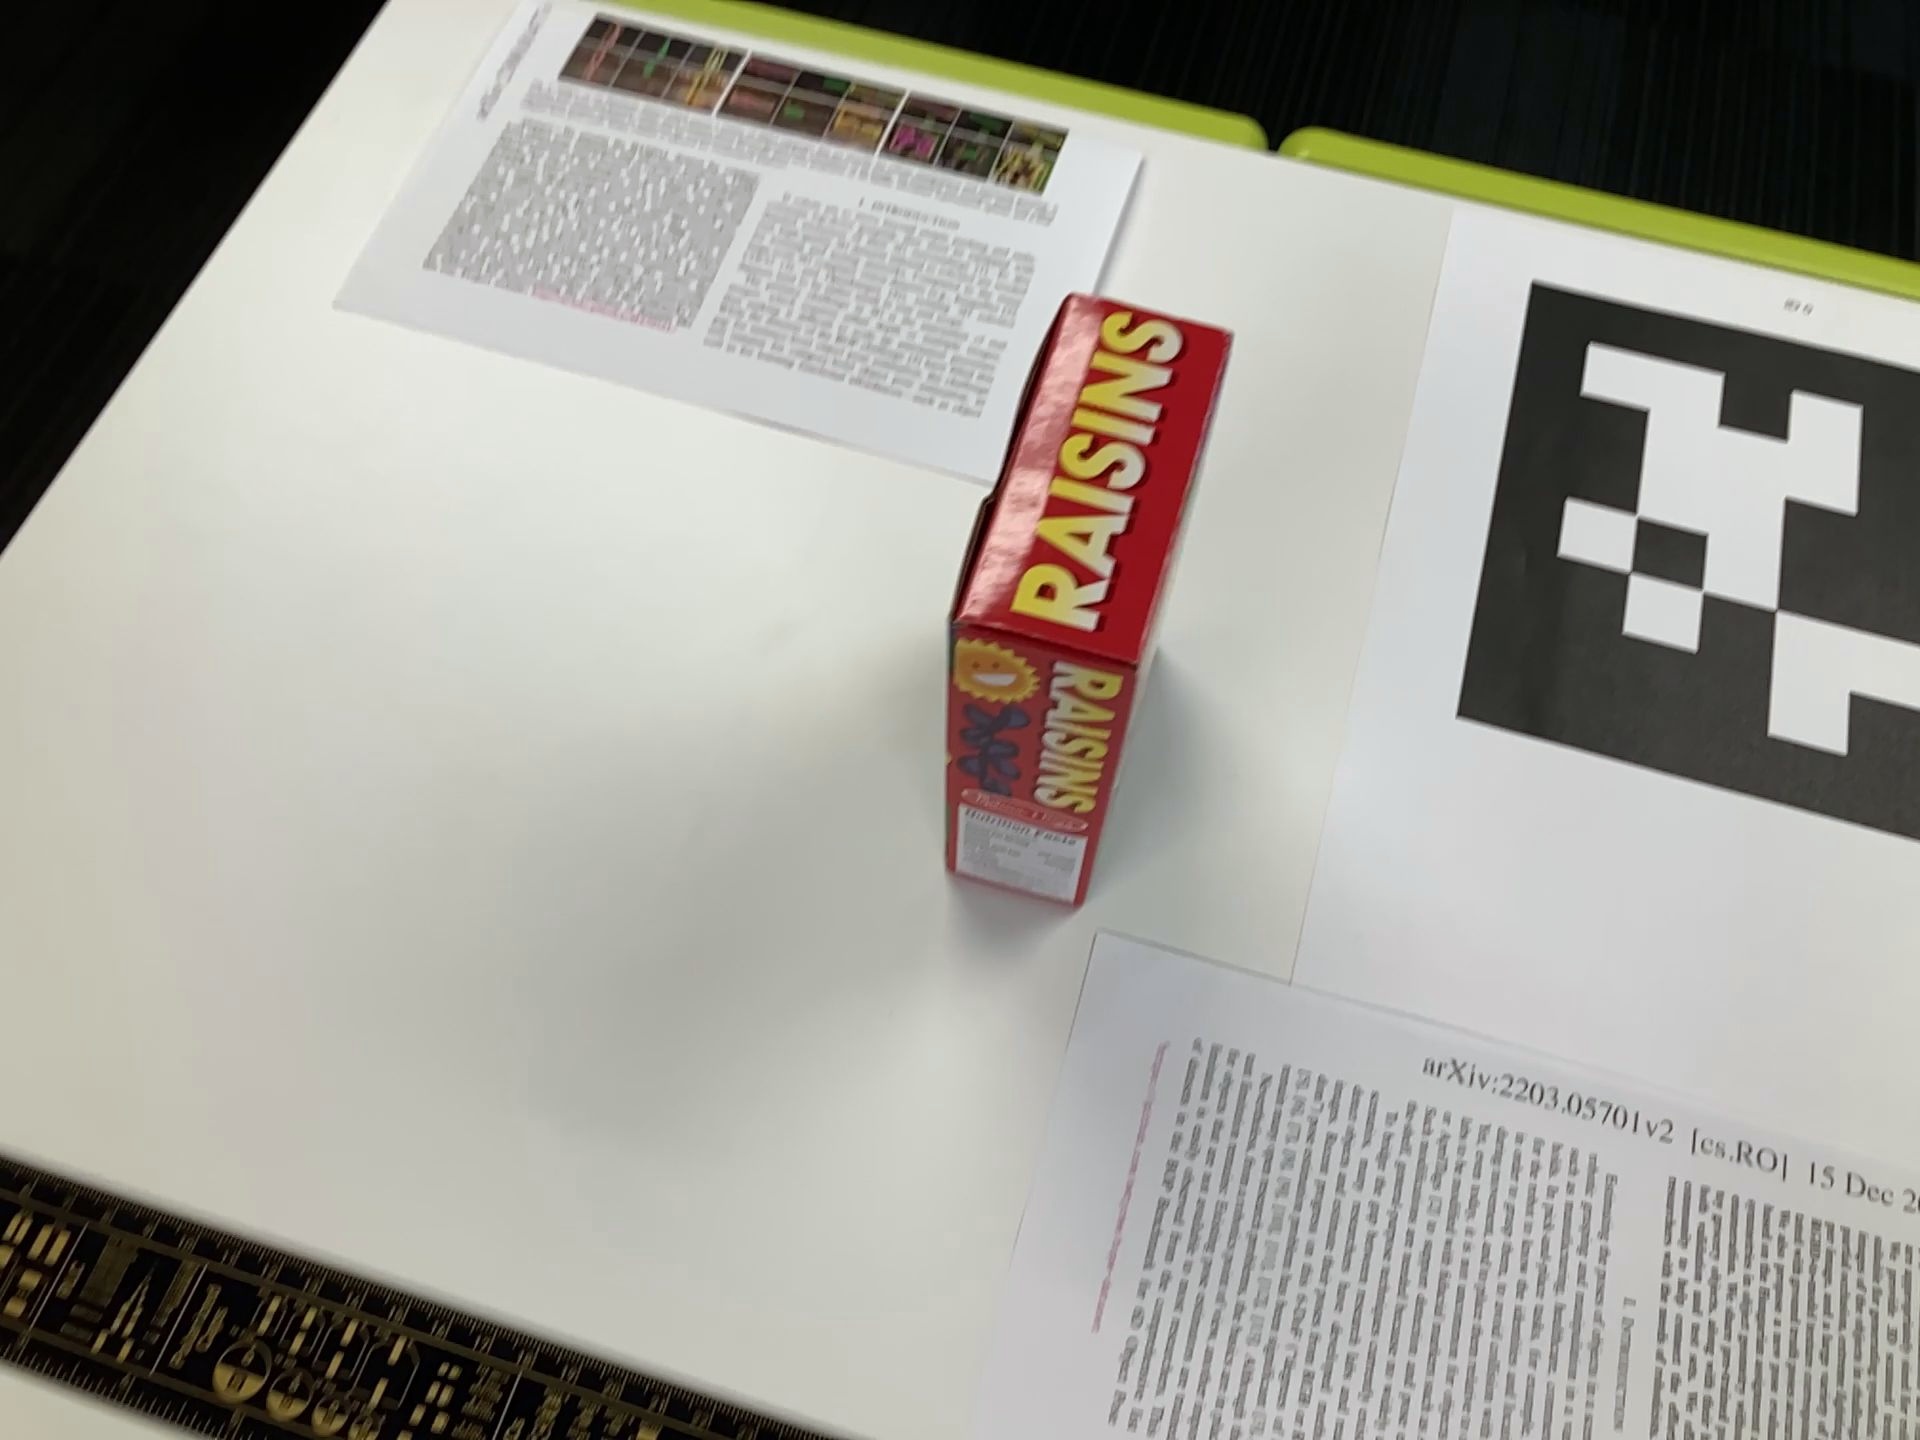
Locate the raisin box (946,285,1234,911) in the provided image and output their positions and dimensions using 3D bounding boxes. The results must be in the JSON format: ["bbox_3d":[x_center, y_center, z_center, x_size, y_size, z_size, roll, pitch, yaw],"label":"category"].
[{"bbox_3d":[0.026,-0.021,0.360,0.040,0.123,0.086,16,63,7],"label":"raisin box"}]
